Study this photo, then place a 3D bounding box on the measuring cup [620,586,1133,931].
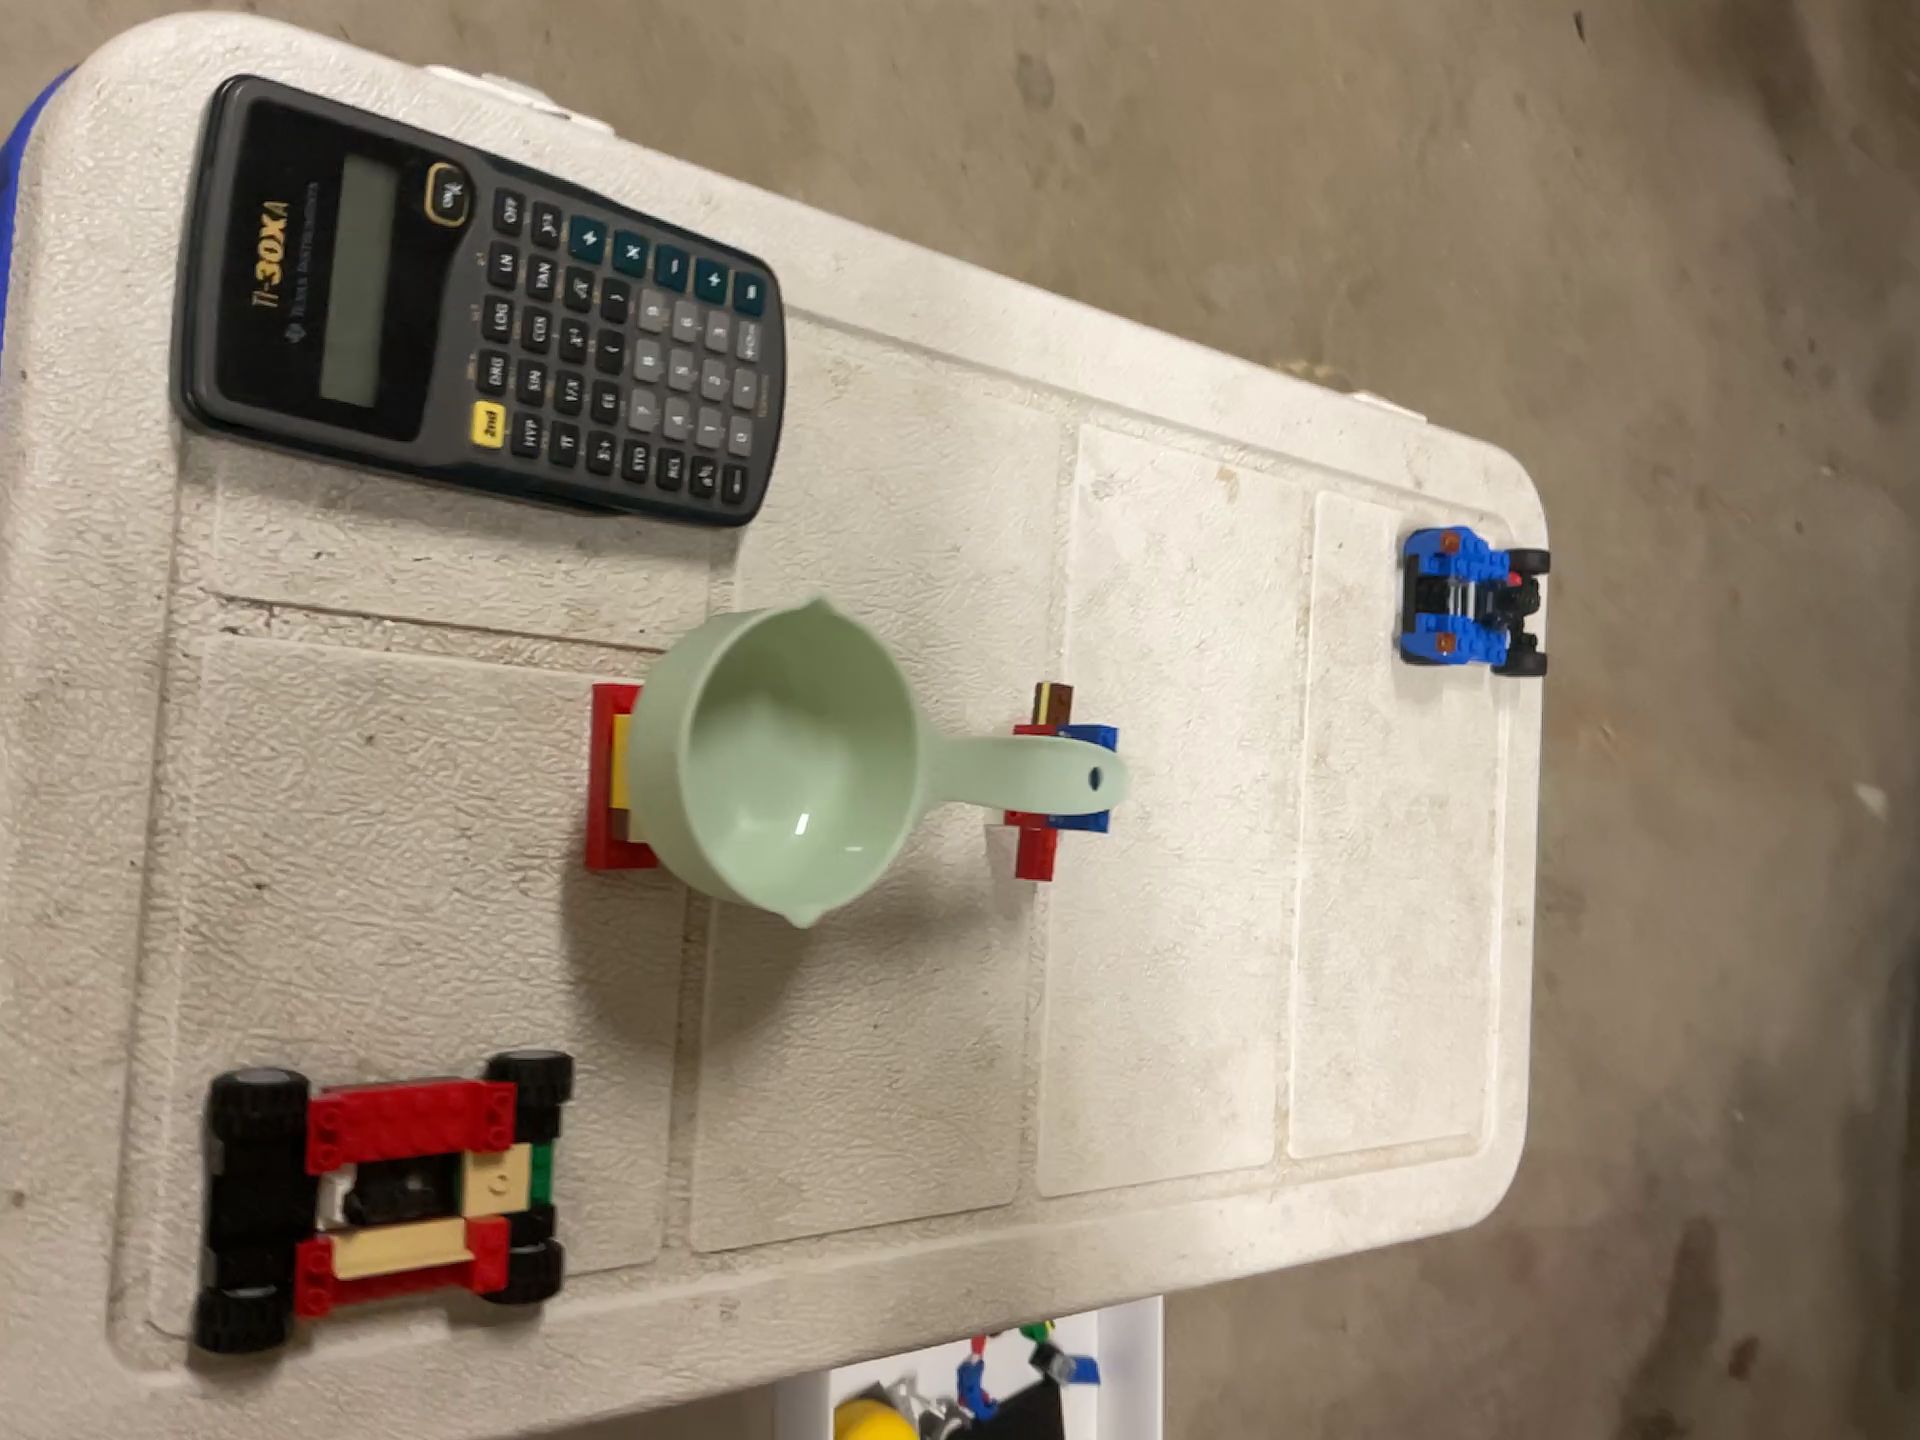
[{"bbox_3d":[-0.017,0.011,0.431,0.167,0.038,0.083,4,86,-46],"label":"measuring cup"}]
